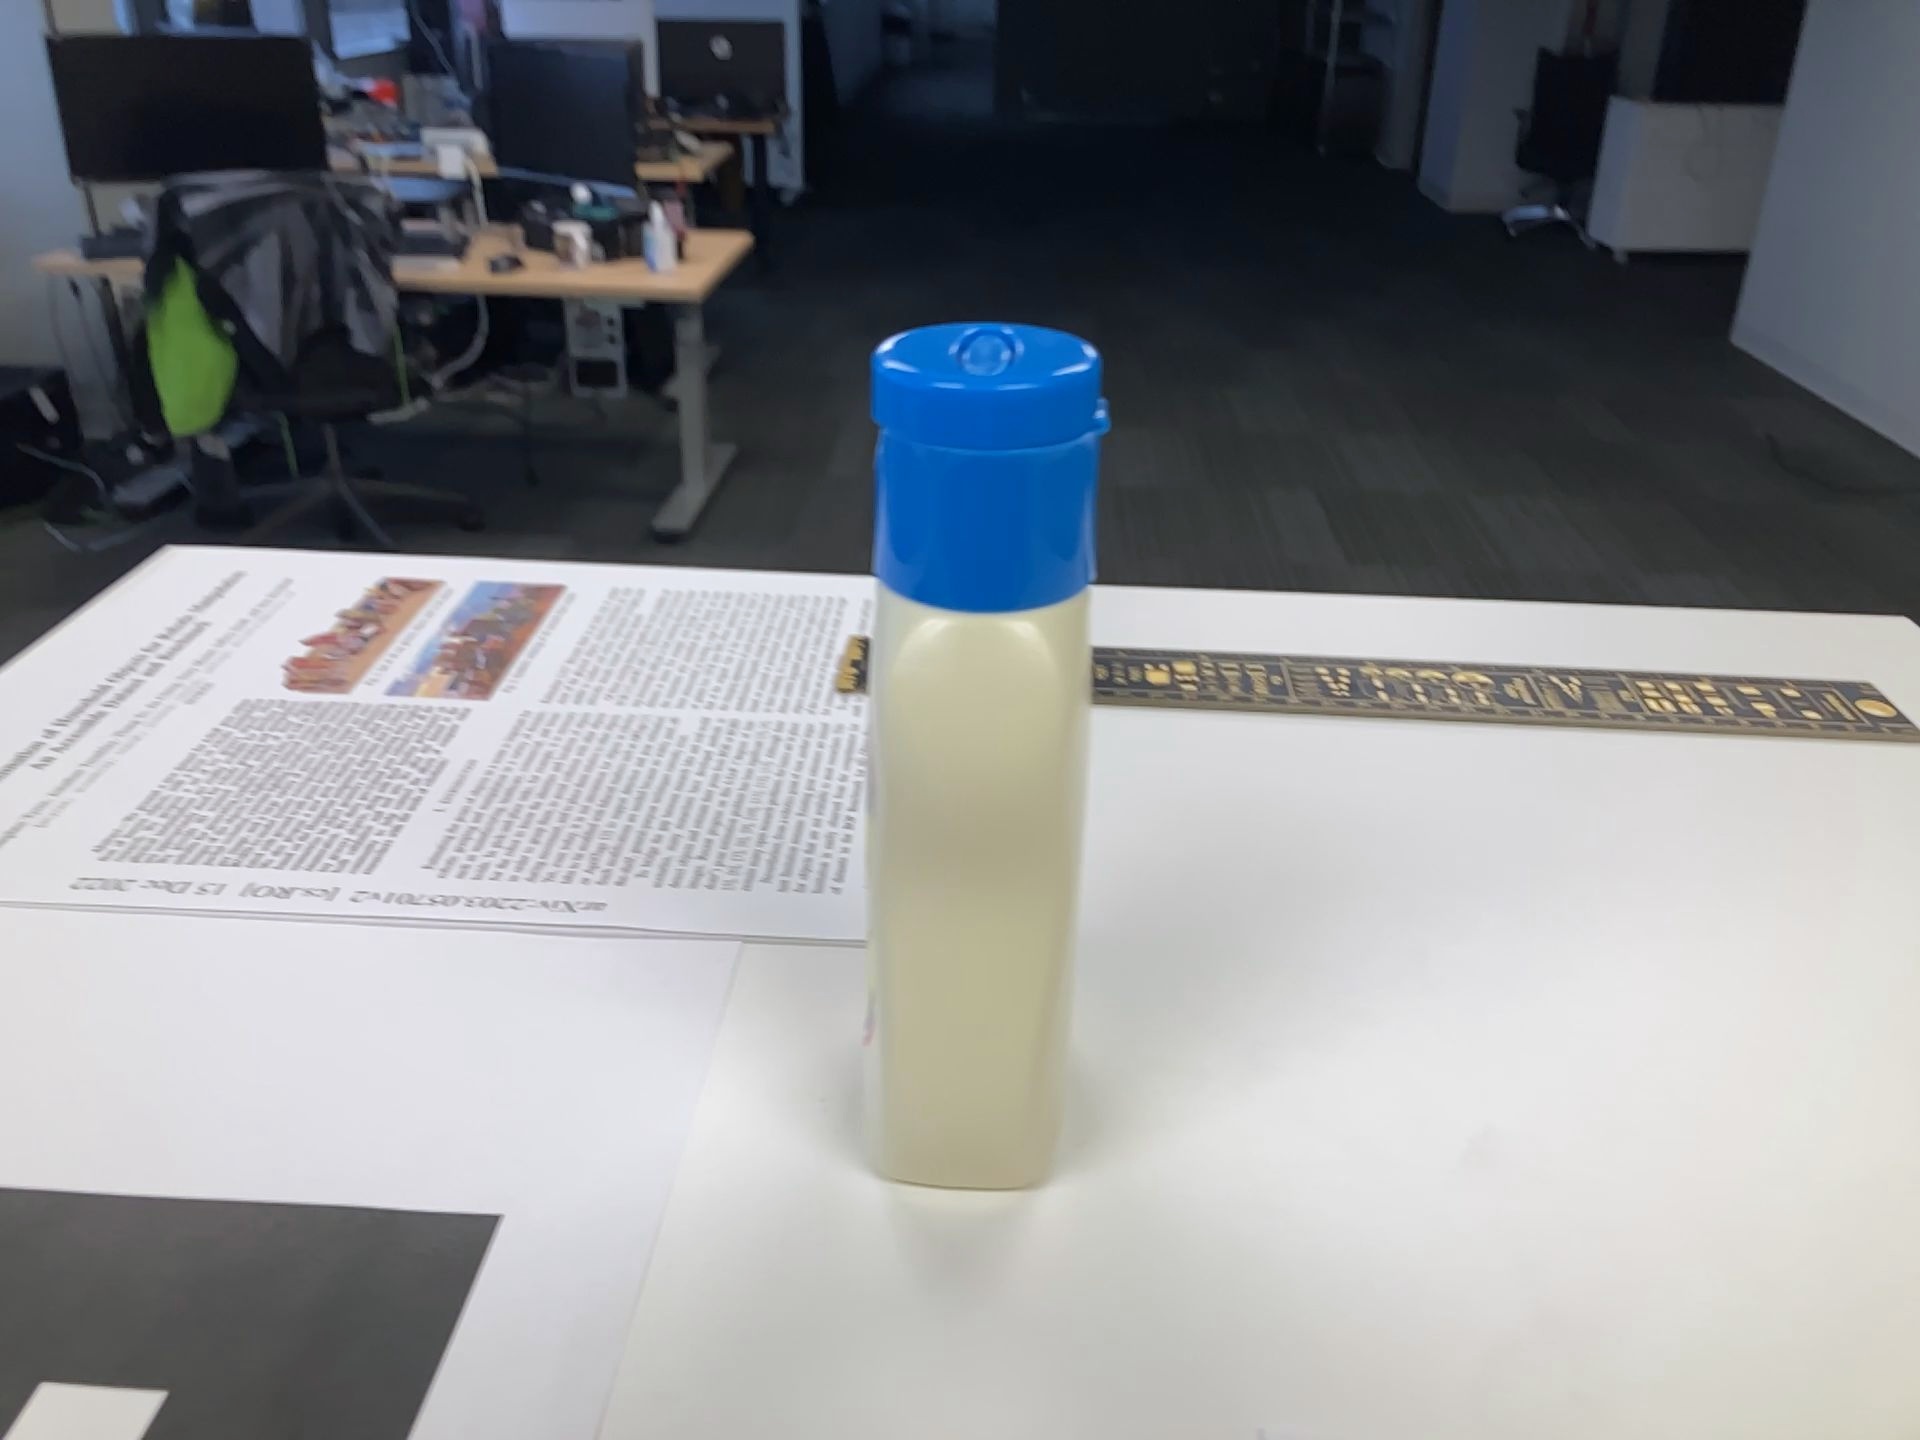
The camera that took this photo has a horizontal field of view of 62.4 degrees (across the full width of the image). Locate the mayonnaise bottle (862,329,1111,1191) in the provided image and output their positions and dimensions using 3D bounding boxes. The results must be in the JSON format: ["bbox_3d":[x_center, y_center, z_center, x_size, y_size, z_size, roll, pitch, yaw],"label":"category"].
[{"bbox_3d":[0.003,0.009,0.281,0.041,0.148,0.065,2,27,2],"label":"mayonnaise bottle"}]
